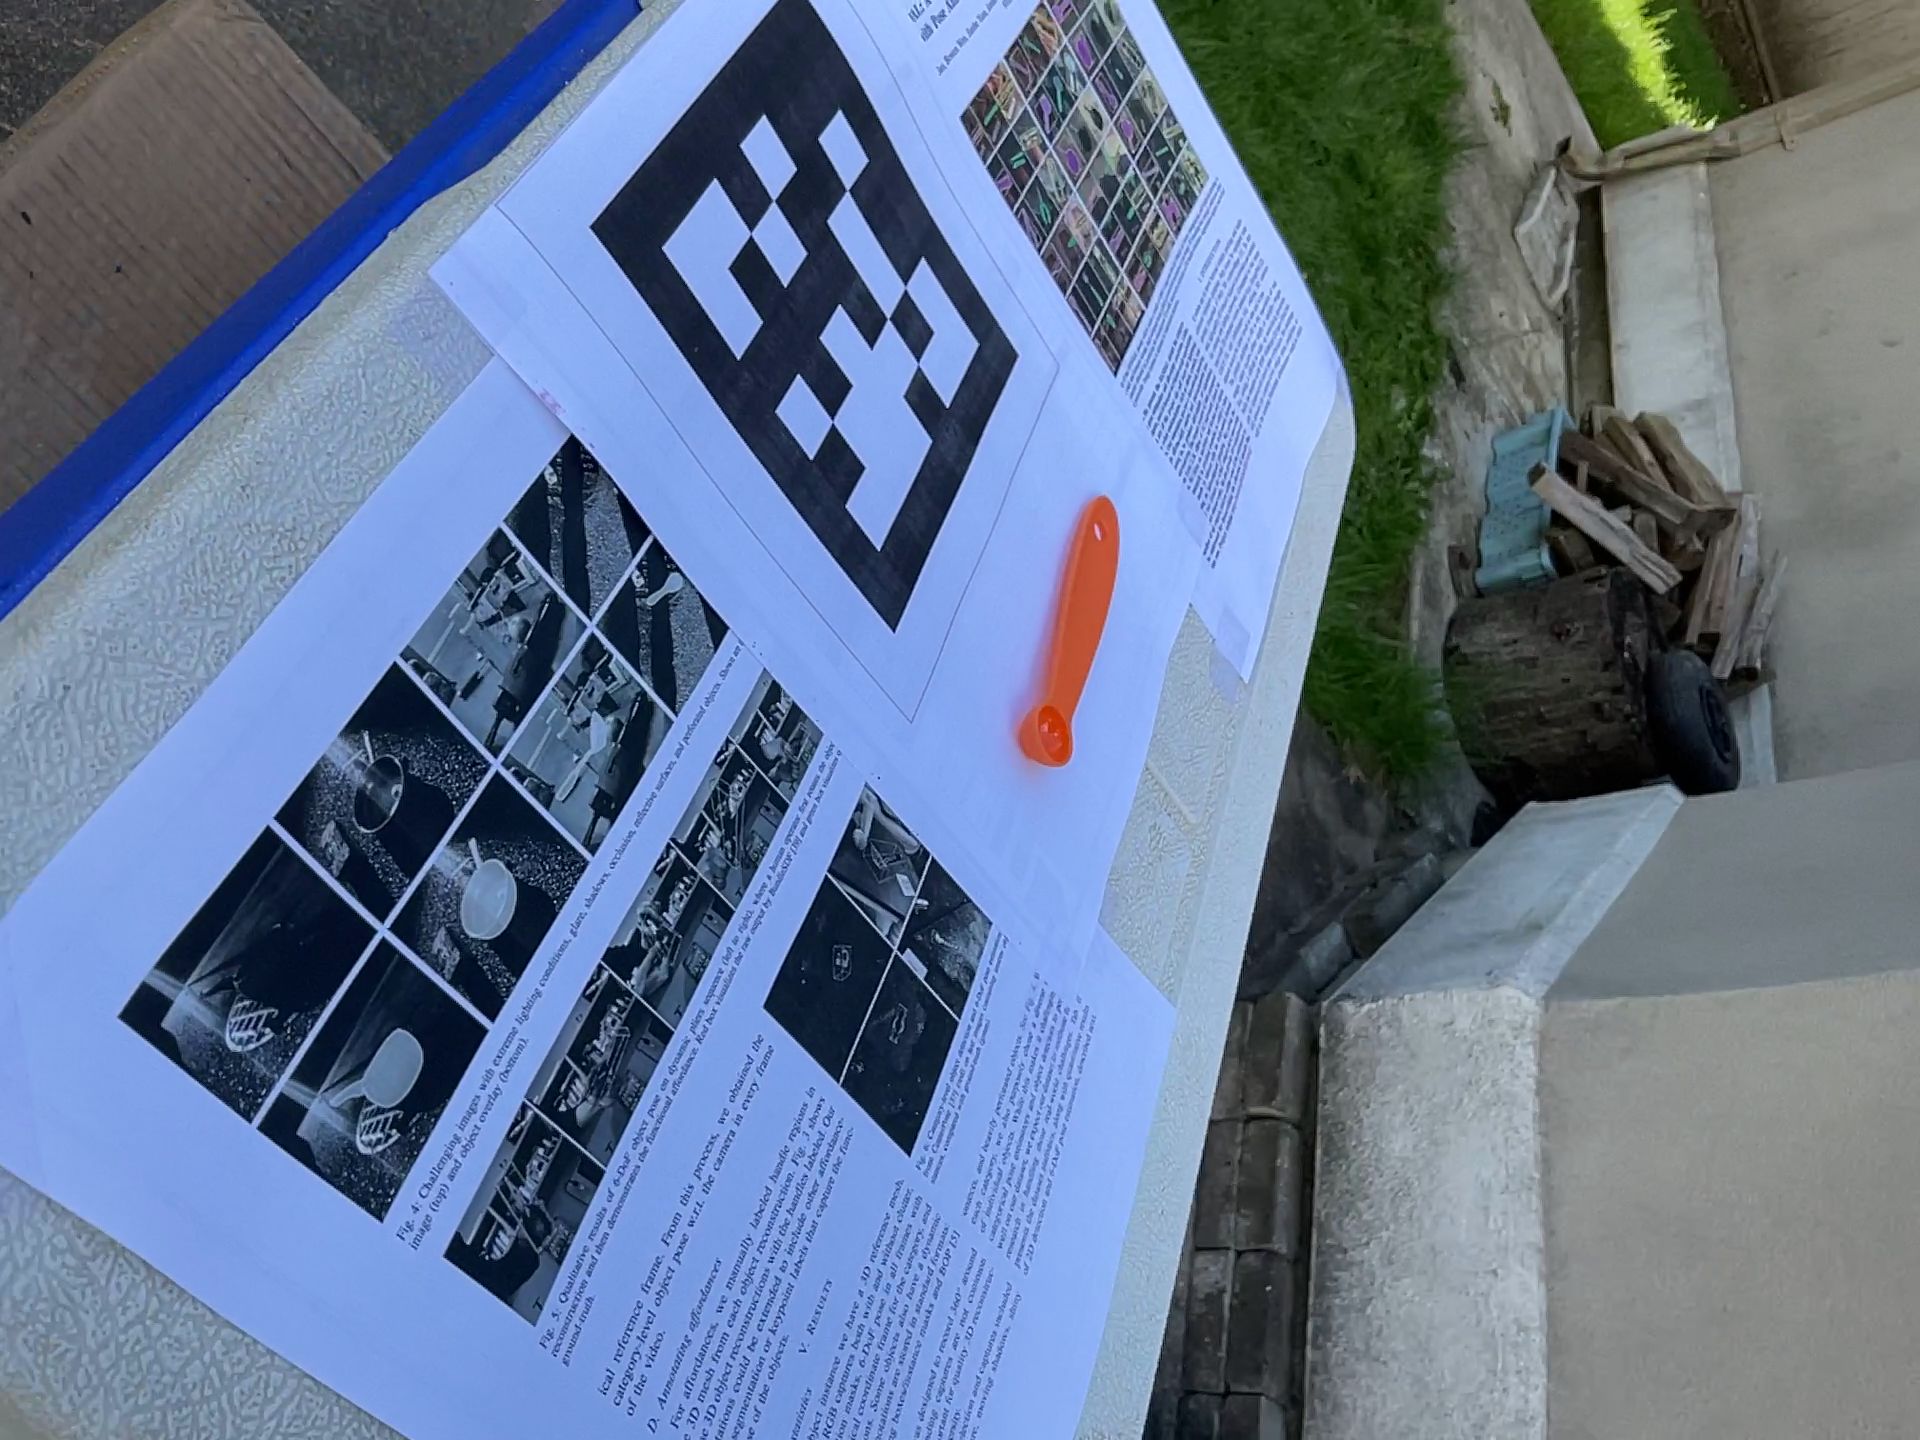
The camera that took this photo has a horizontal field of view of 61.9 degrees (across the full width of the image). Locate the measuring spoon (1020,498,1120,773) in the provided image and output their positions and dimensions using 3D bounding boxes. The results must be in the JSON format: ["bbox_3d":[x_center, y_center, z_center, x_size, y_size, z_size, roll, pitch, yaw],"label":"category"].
[{"bbox_3d":[0.034,-0.029,0.490,0.021,0.011,0.117,50,39,-32],"label":"measuring spoon"}]
